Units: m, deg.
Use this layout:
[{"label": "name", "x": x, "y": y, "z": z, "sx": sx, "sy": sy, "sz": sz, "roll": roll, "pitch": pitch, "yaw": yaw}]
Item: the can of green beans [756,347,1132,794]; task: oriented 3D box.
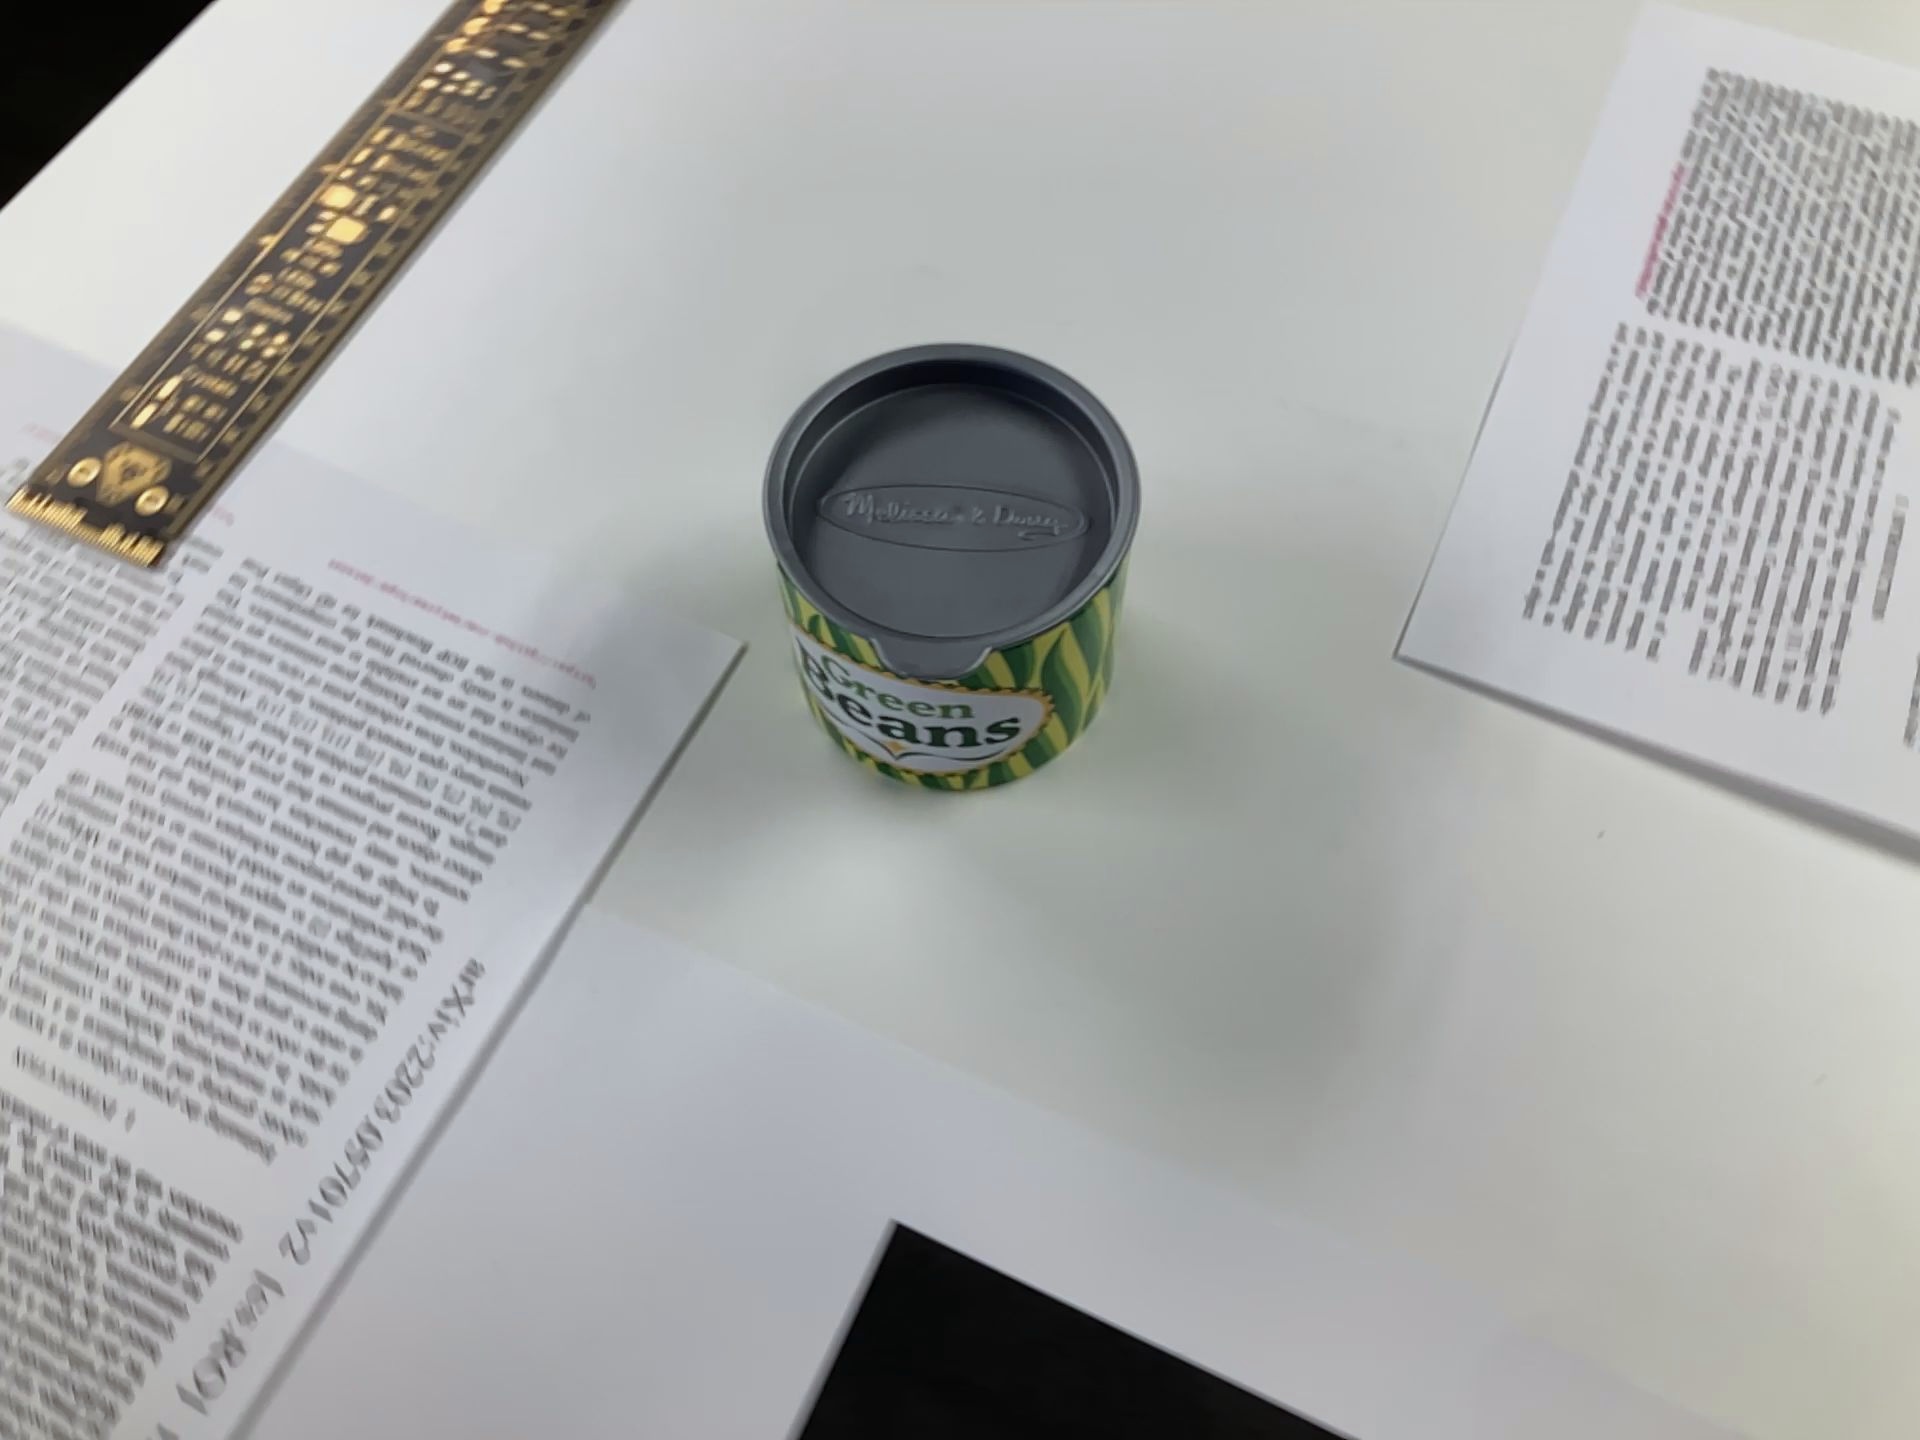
[{"label": "can of green beans", "x": -0.003, "y": -0.027, "z": 0.306, "sx": 0.071, "sy": 0.058, "sz": 0.071, "roll": 0, "pitch": 62, "yaw": 1}]
